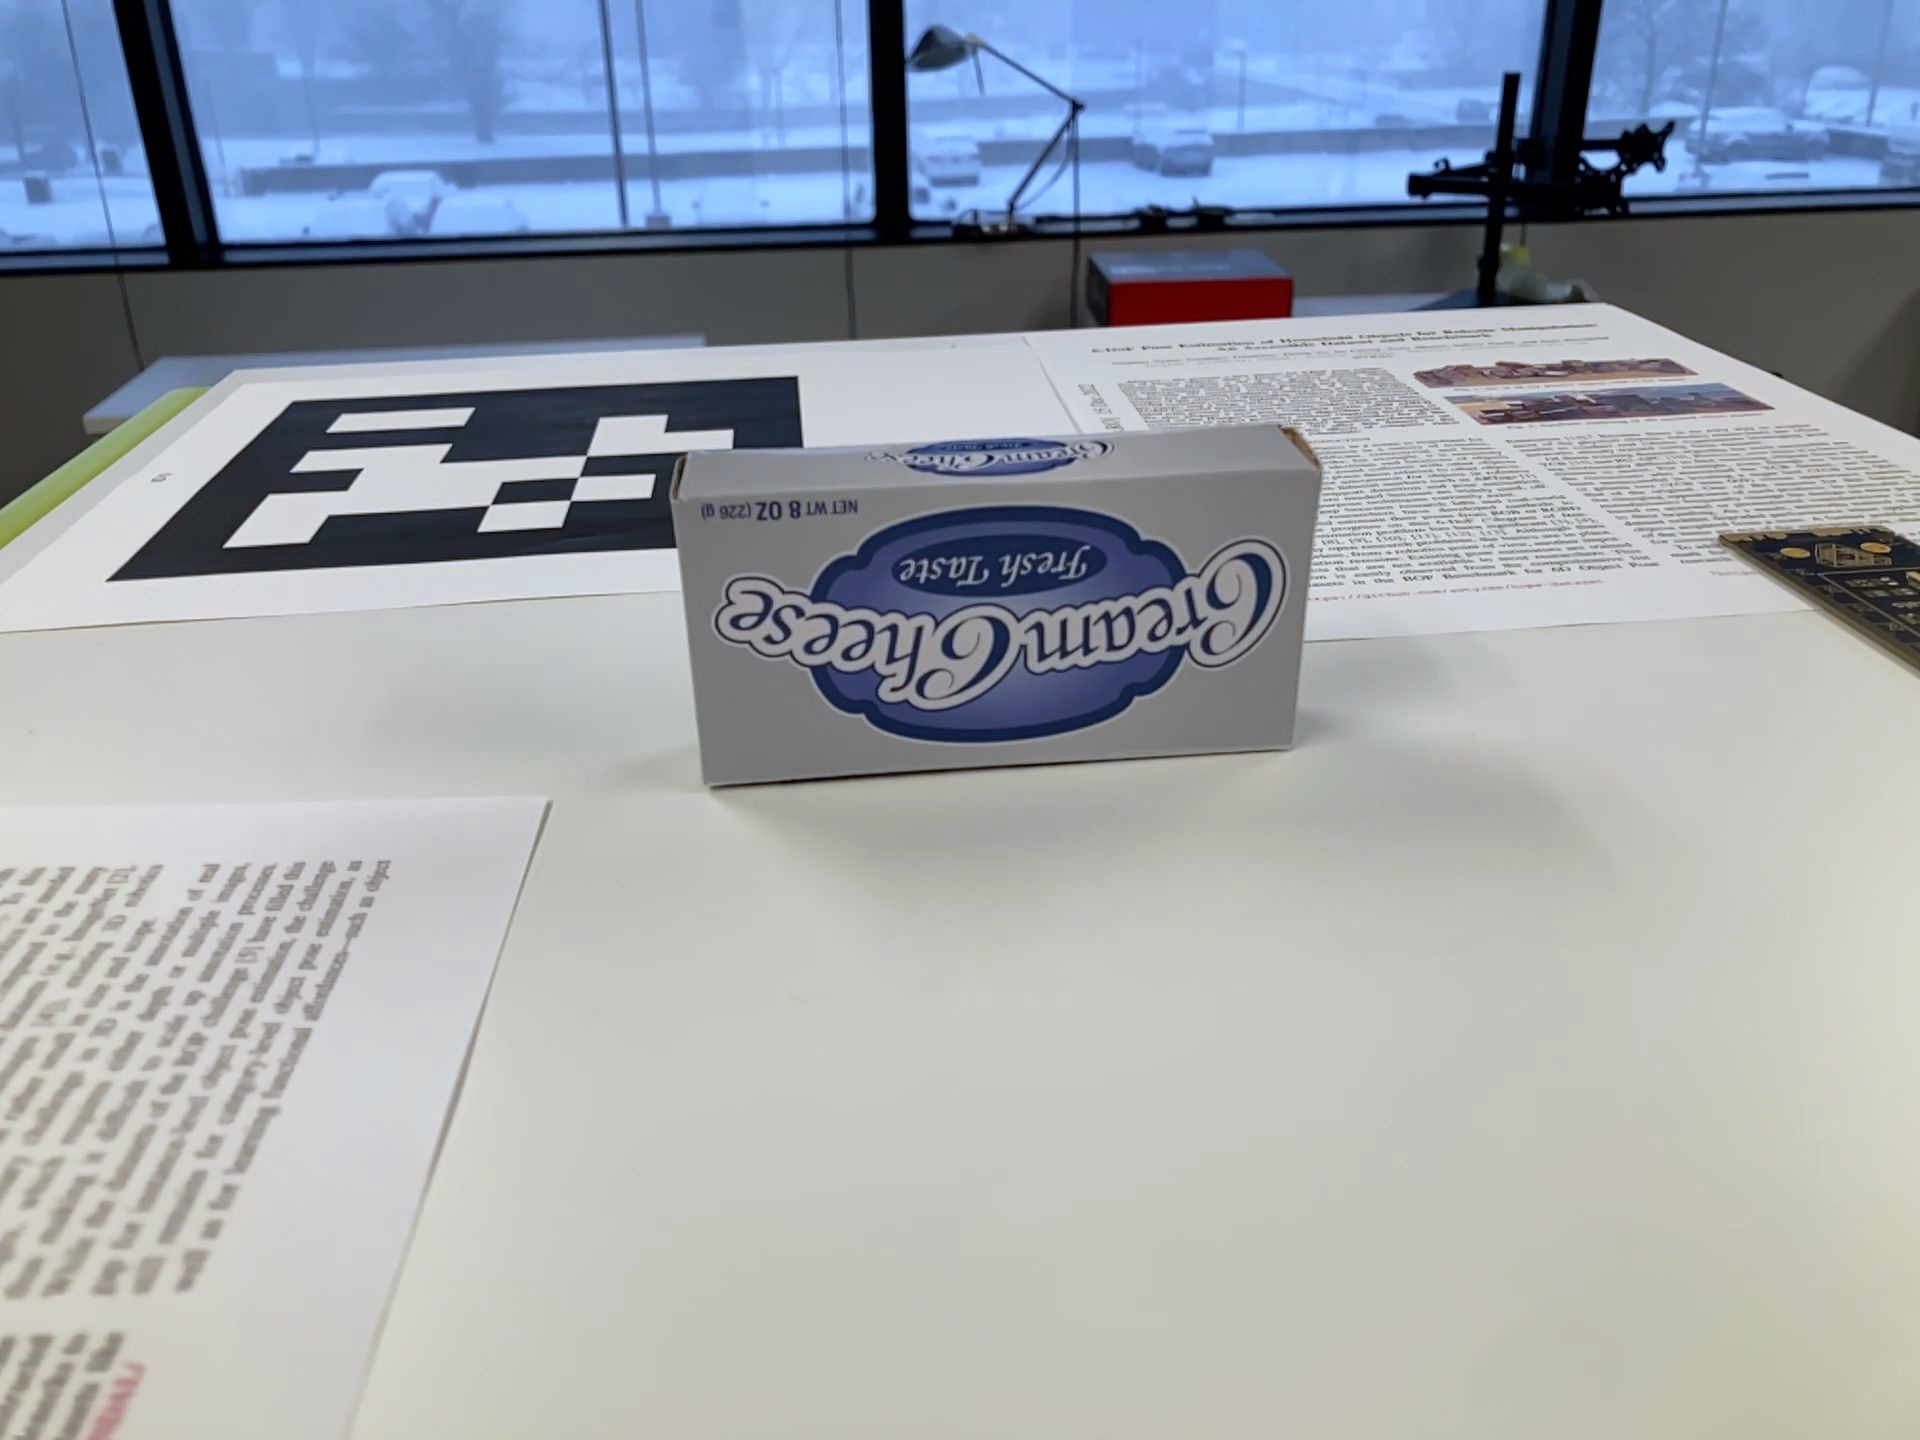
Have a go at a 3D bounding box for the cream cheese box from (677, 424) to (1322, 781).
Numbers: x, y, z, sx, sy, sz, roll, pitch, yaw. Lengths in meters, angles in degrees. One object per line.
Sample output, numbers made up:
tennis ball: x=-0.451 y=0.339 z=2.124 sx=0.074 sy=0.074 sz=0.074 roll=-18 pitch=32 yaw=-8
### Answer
cream cheese box: x=0.007 y=-0.020 z=0.271 sx=0.104 sy=0.053 sz=0.024 roll=-4 pitch=27 yaw=-5
